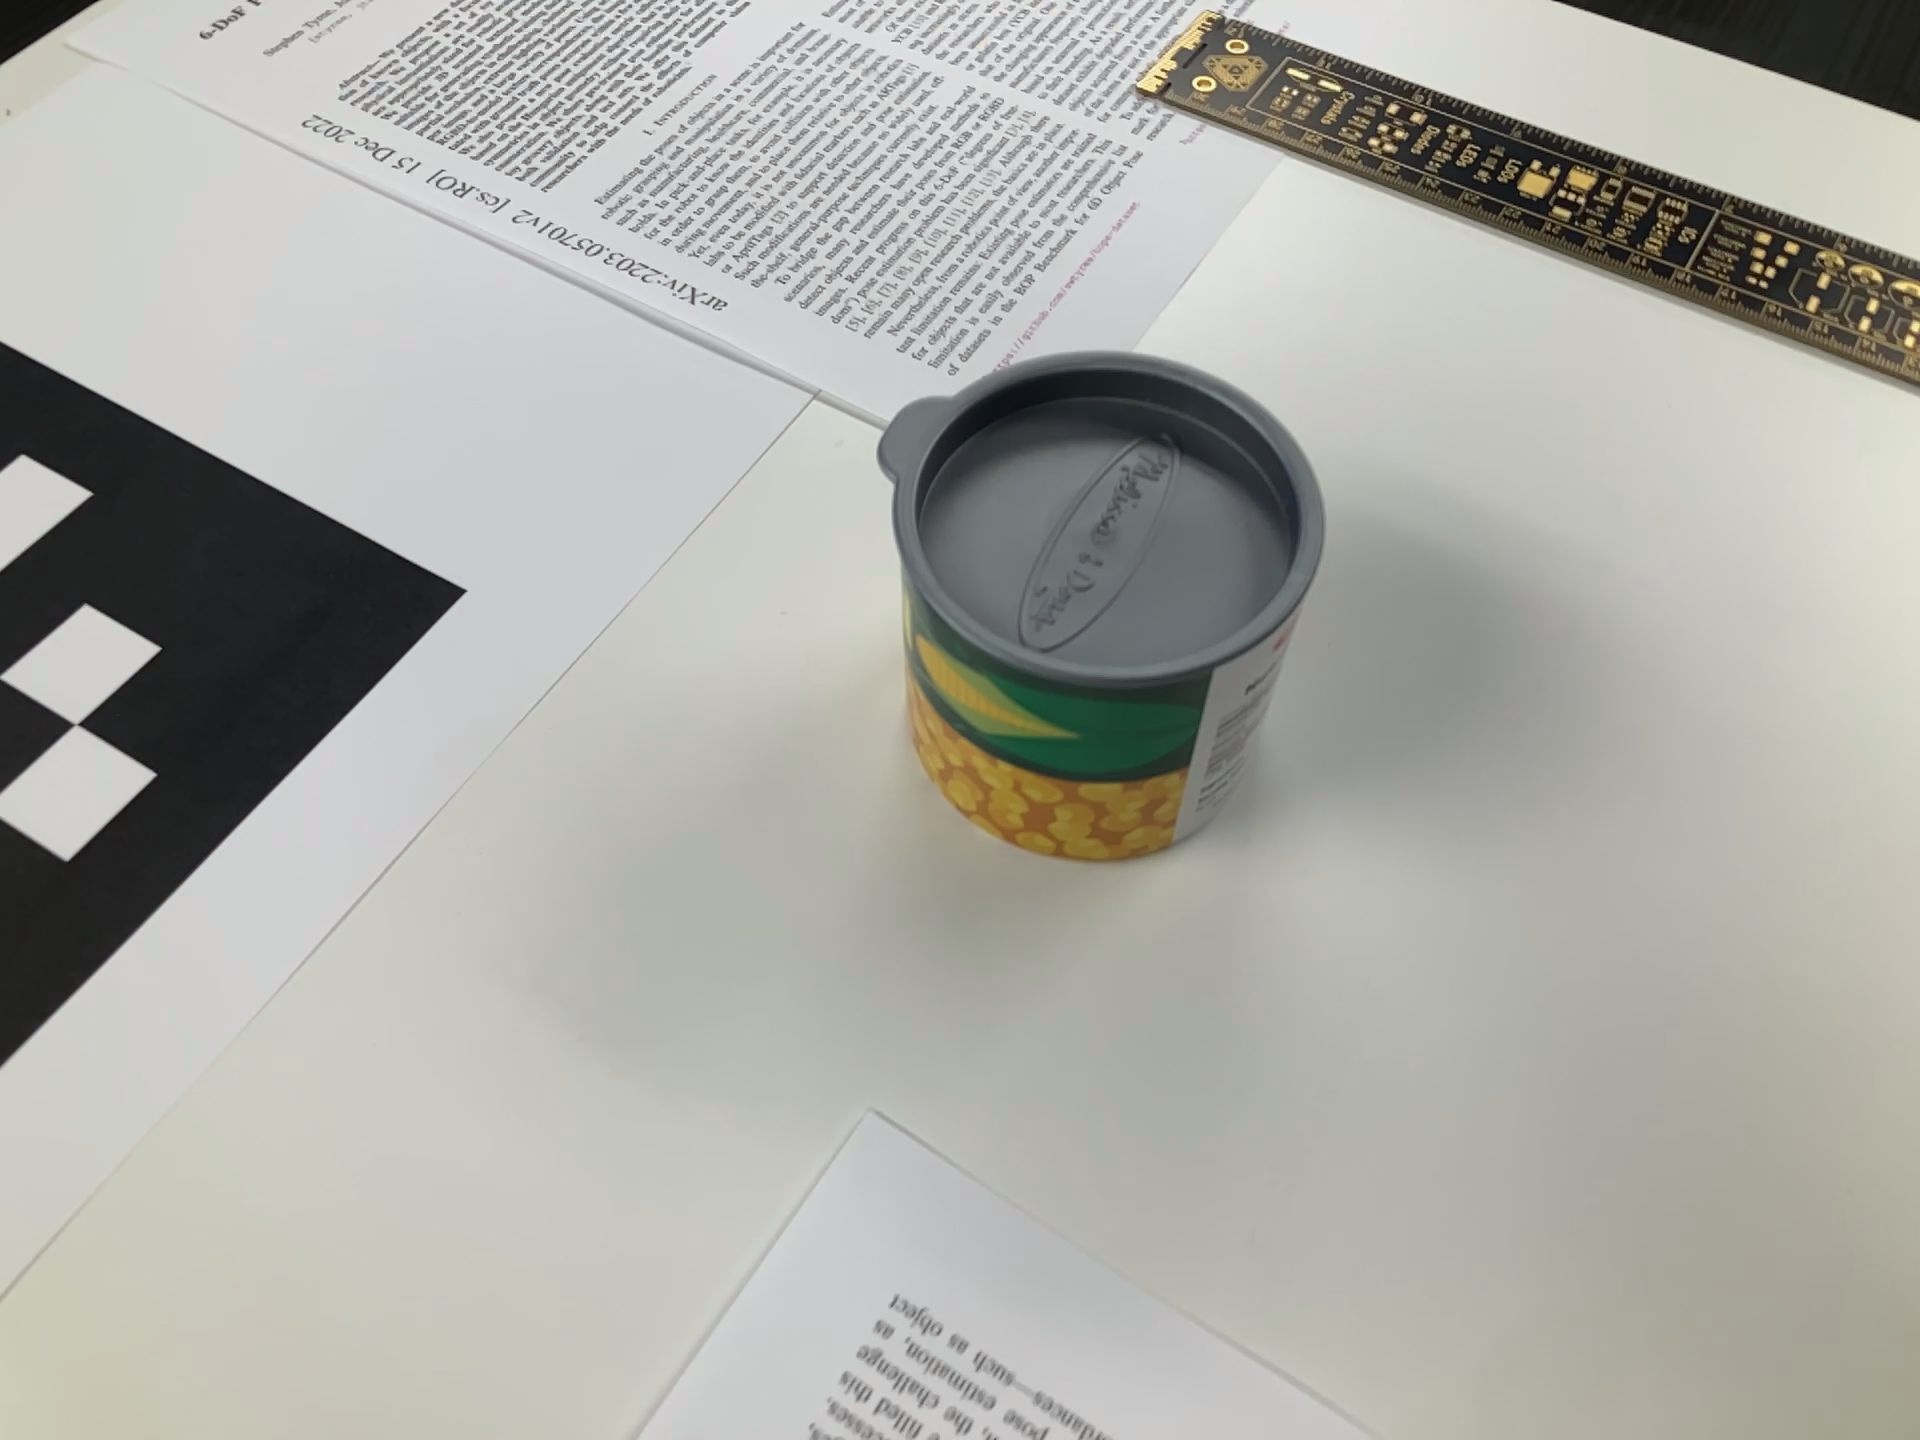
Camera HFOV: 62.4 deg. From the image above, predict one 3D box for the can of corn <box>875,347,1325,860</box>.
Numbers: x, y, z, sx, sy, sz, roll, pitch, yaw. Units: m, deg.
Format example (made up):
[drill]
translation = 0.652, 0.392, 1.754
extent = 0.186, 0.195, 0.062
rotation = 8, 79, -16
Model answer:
[can of corn]
translation = 0.020, -0.019, 0.267
extent = 0.071, 0.058, 0.071
rotation = 0, 57, 0
